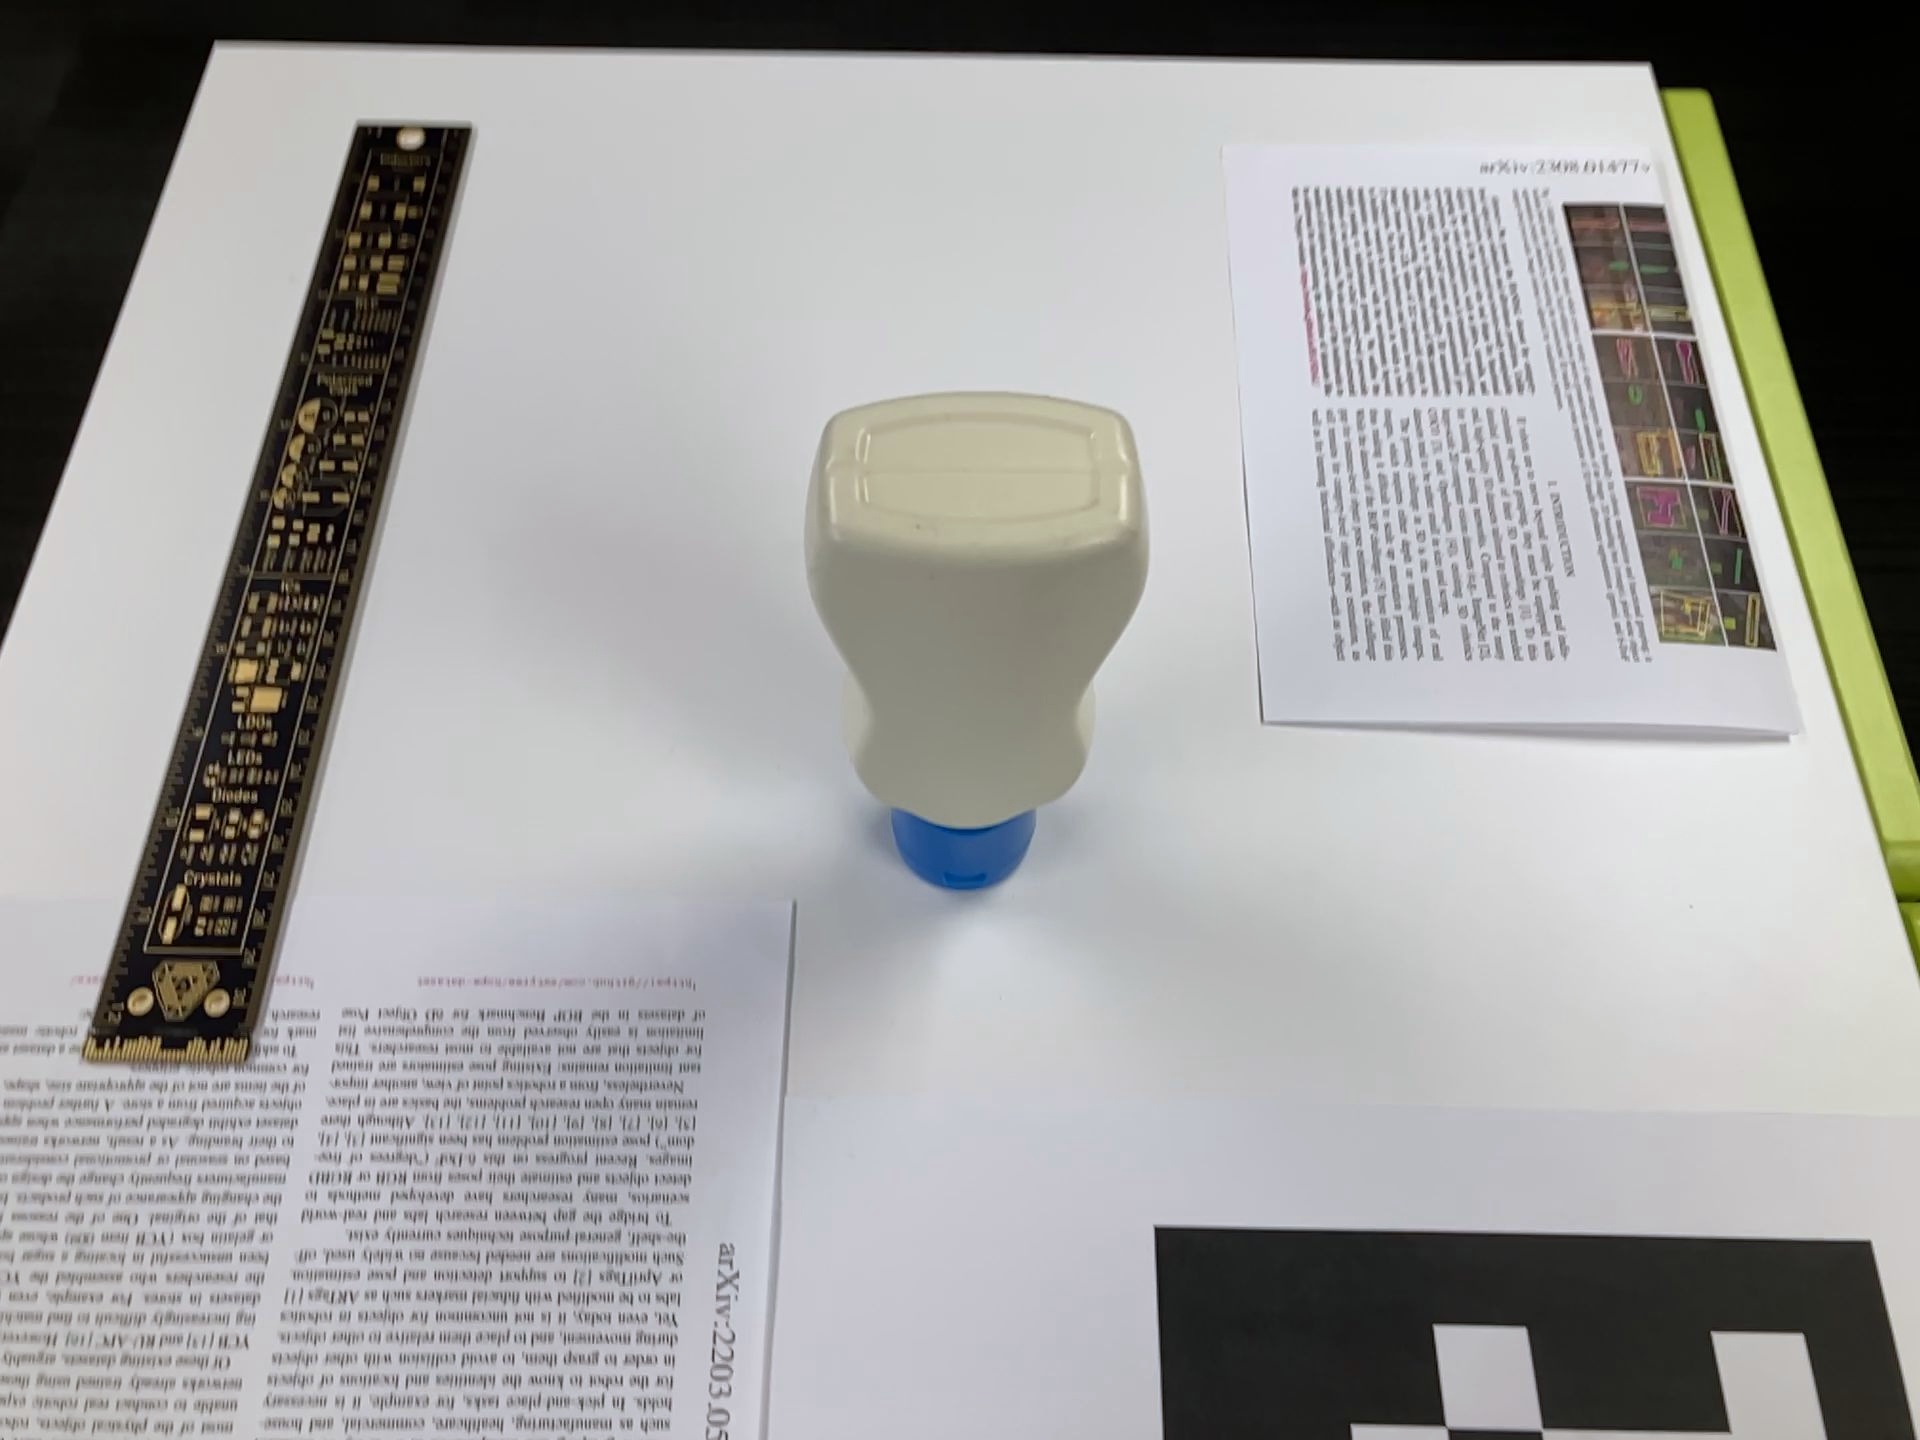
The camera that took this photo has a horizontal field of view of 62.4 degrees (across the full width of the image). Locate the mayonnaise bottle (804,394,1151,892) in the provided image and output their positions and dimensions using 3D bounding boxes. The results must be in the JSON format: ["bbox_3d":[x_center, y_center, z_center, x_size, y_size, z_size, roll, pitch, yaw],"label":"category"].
[{"bbox_3d":[0.002,-0.008,0.345,0.065,0.148,0.041,0,61,-1],"label":"mayonnaise bottle"}]
